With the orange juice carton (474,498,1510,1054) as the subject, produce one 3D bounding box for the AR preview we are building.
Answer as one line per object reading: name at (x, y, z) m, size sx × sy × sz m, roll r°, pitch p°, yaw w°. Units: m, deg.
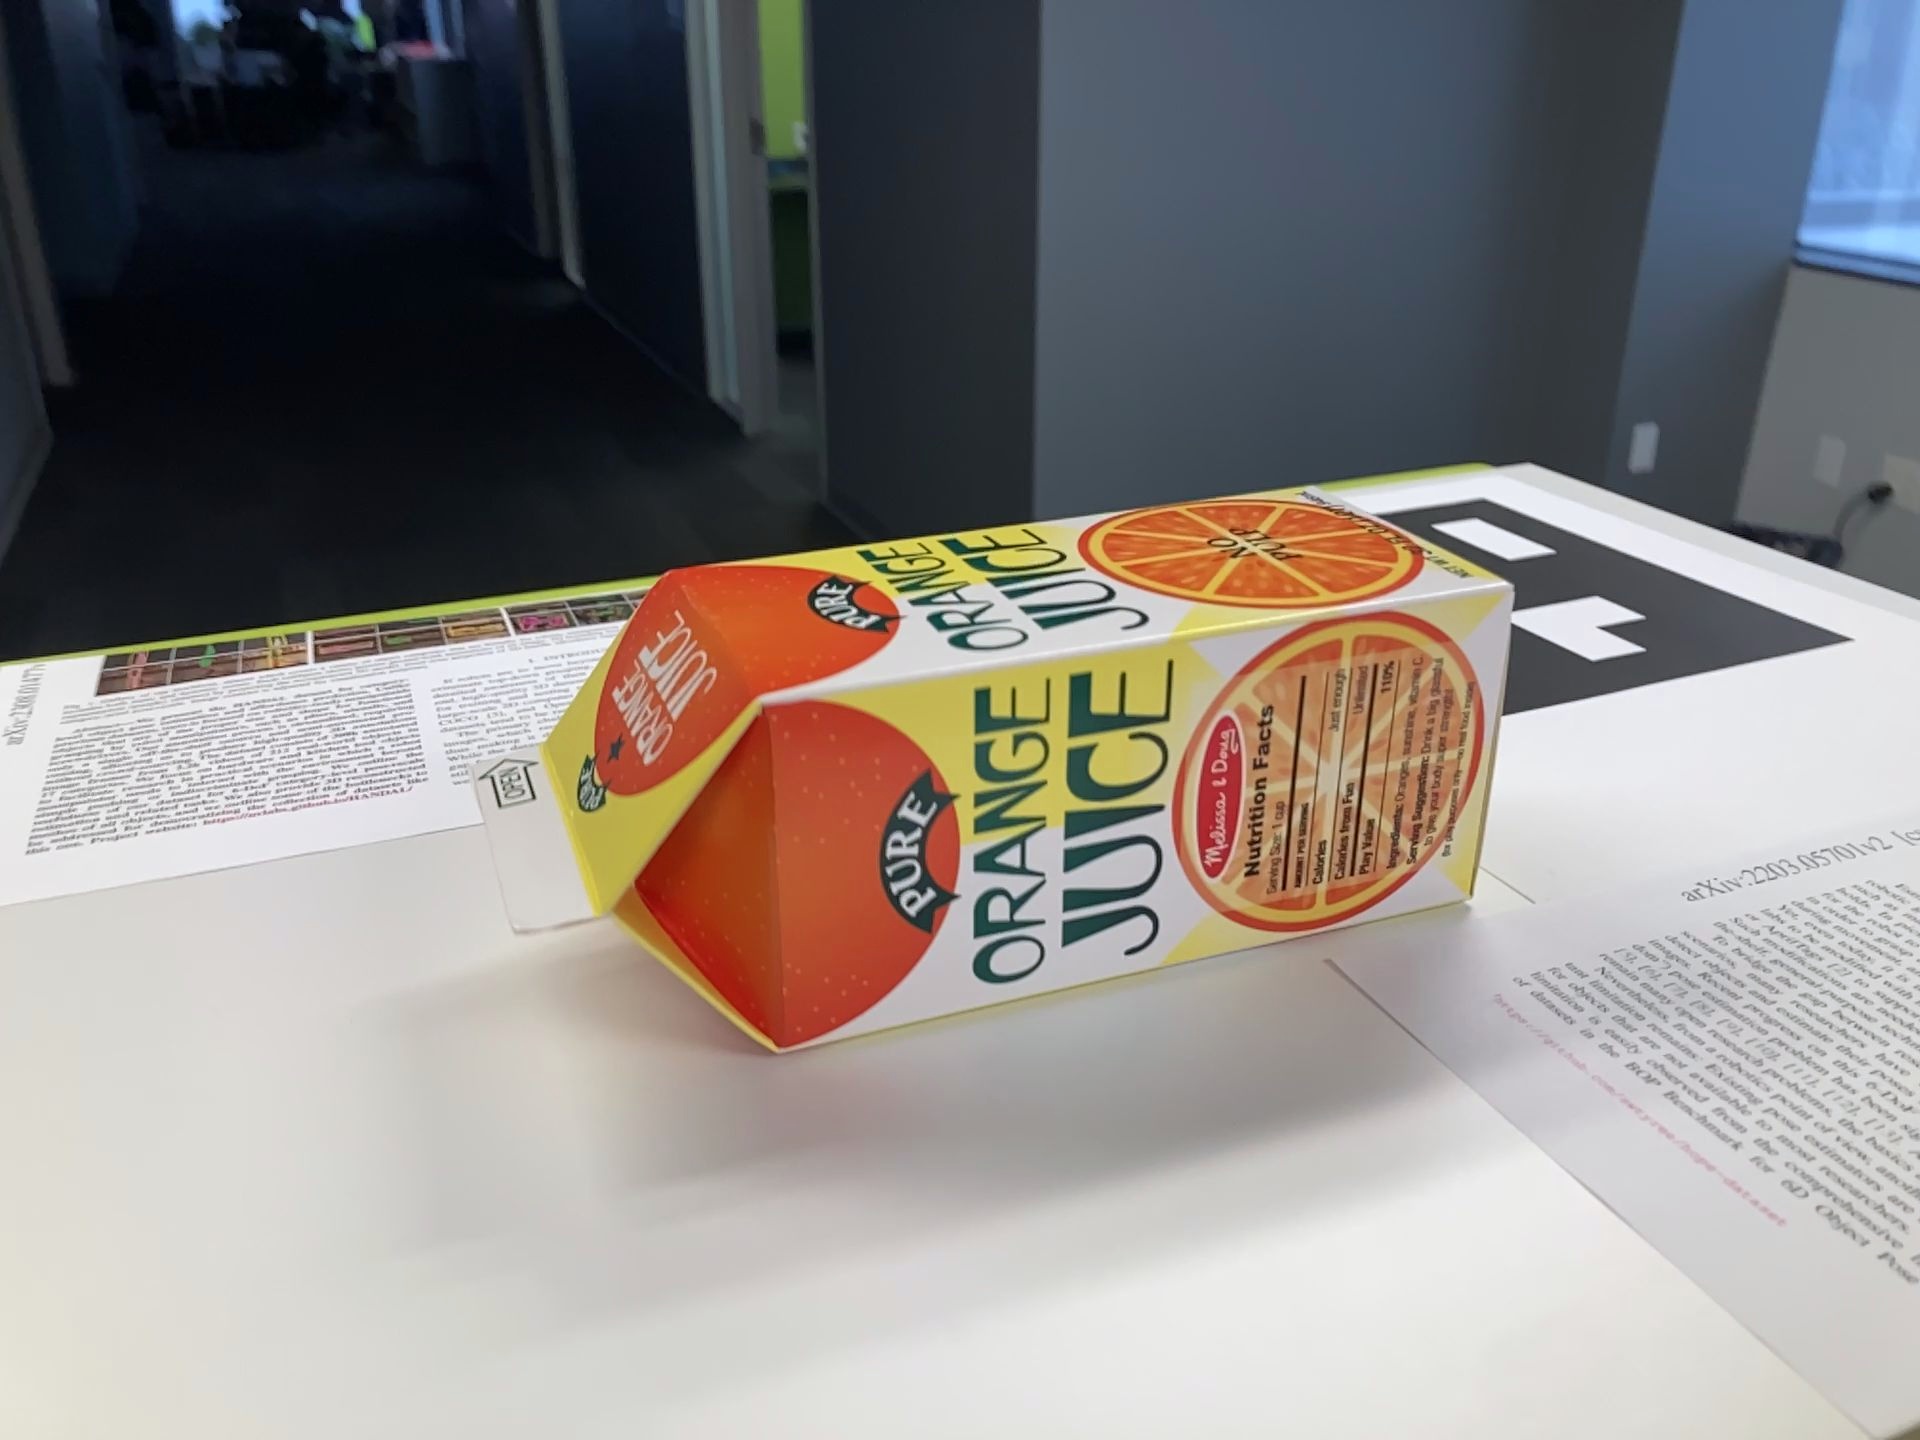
orange juice carton at (0.005, 0.008, 0.317) m, size 0.192 × 0.073 × 0.072 m, roll -9°, pitch 26°, yaw -19°
